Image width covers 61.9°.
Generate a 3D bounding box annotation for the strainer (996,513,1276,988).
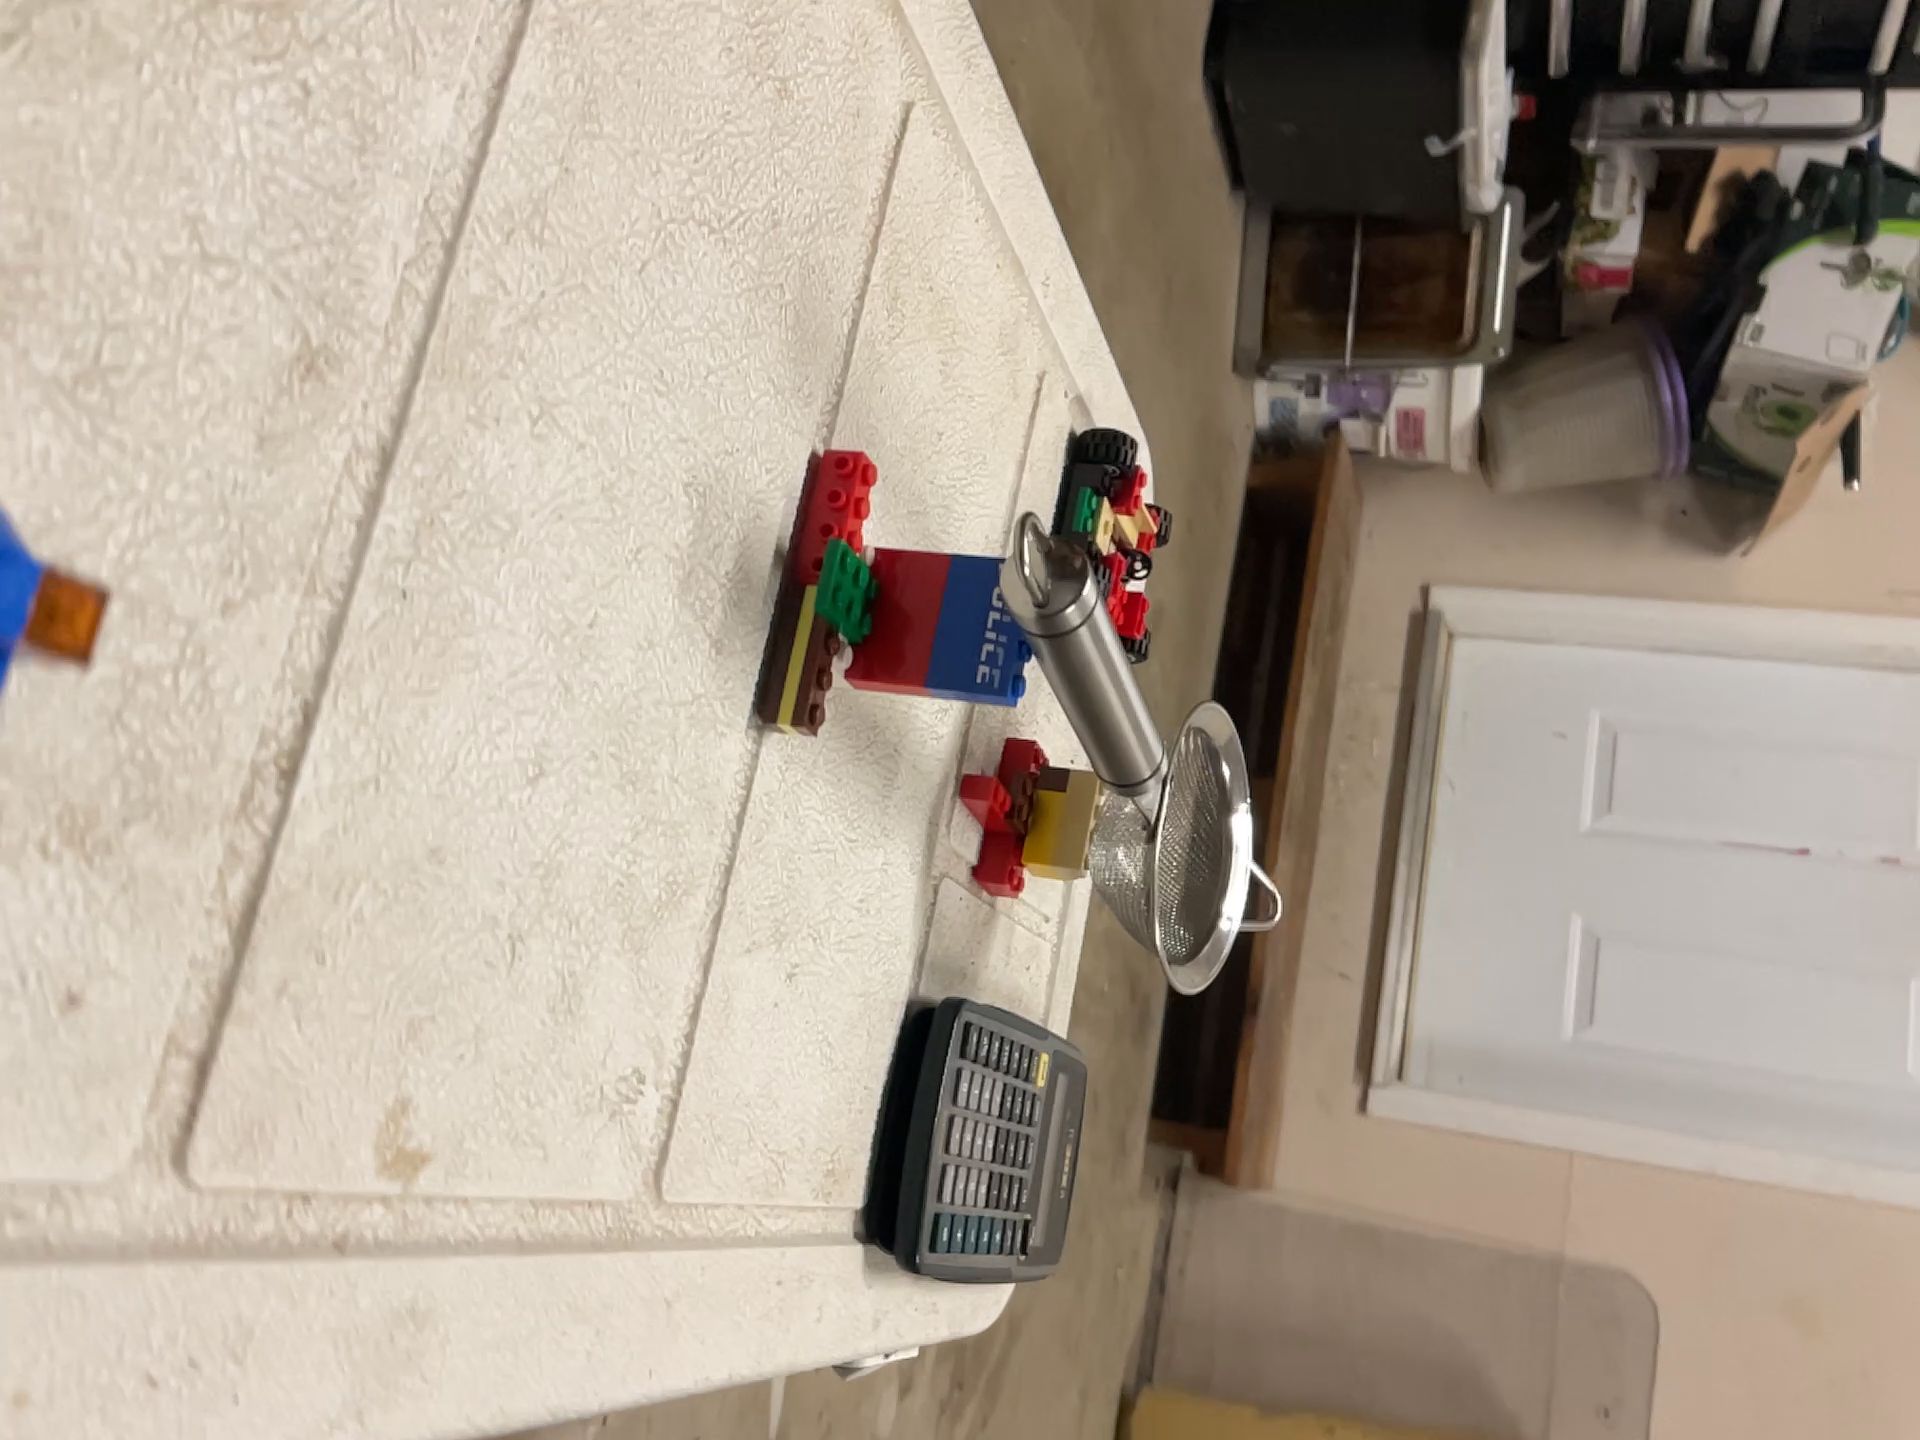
[{"bbox_3d":[0.045,0.010,0.419,0.258,0.050,0.087,53,45,-63],"label":"strainer"}]
